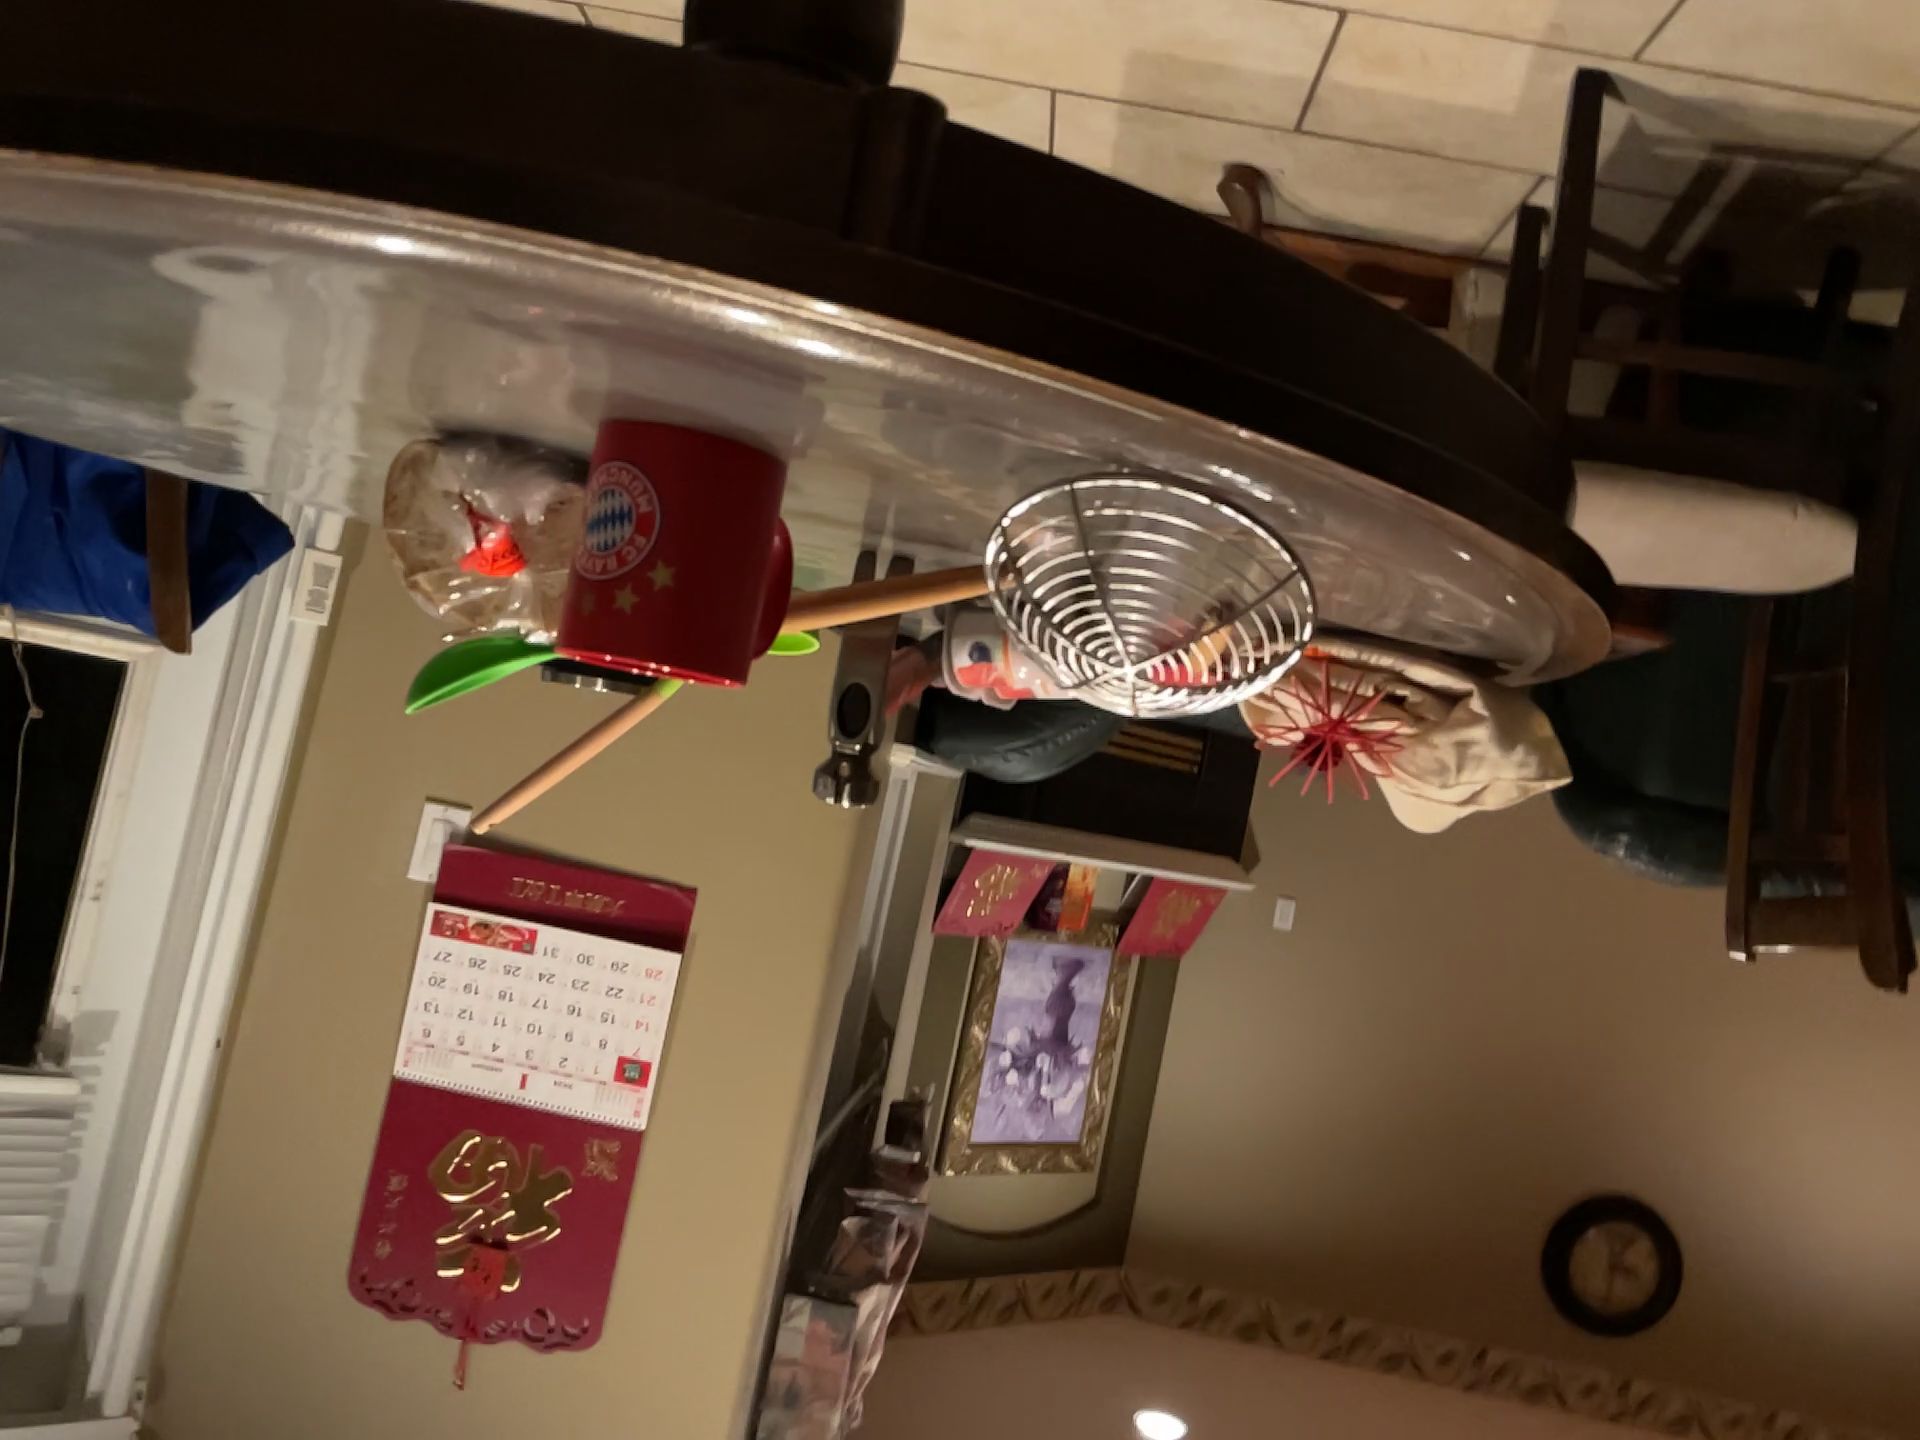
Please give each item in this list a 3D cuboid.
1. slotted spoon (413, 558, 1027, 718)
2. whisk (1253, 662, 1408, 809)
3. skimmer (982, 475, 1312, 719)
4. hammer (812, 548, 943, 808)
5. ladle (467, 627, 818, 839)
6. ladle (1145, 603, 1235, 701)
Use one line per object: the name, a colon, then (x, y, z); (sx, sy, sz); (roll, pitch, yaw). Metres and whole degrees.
slotted spoon: (-0.120, -0.047, 0.798); (0.313, 0.031, 0.070); (-11, -176, -4)
whisk: (0.197, 0.015, 0.853); (0.073, 0.073, 0.295); (9, 178, 12)
skimmer: (0.072, -0.063, 0.734); (0.127, 0.090, 0.363); (19, -172, -1)
hammer: (-0.031, -0.048, 1.052); (0.038, 0.143, 0.386); (12, -171, 5)
ladle: (-0.245, 0.004, 1.203); (0.062, 0.320, 0.078); (58, -171, 27)
ladle: (0.151, -0.040, 0.974); (0.069, 0.031, 0.315); (10, 176, 6)
